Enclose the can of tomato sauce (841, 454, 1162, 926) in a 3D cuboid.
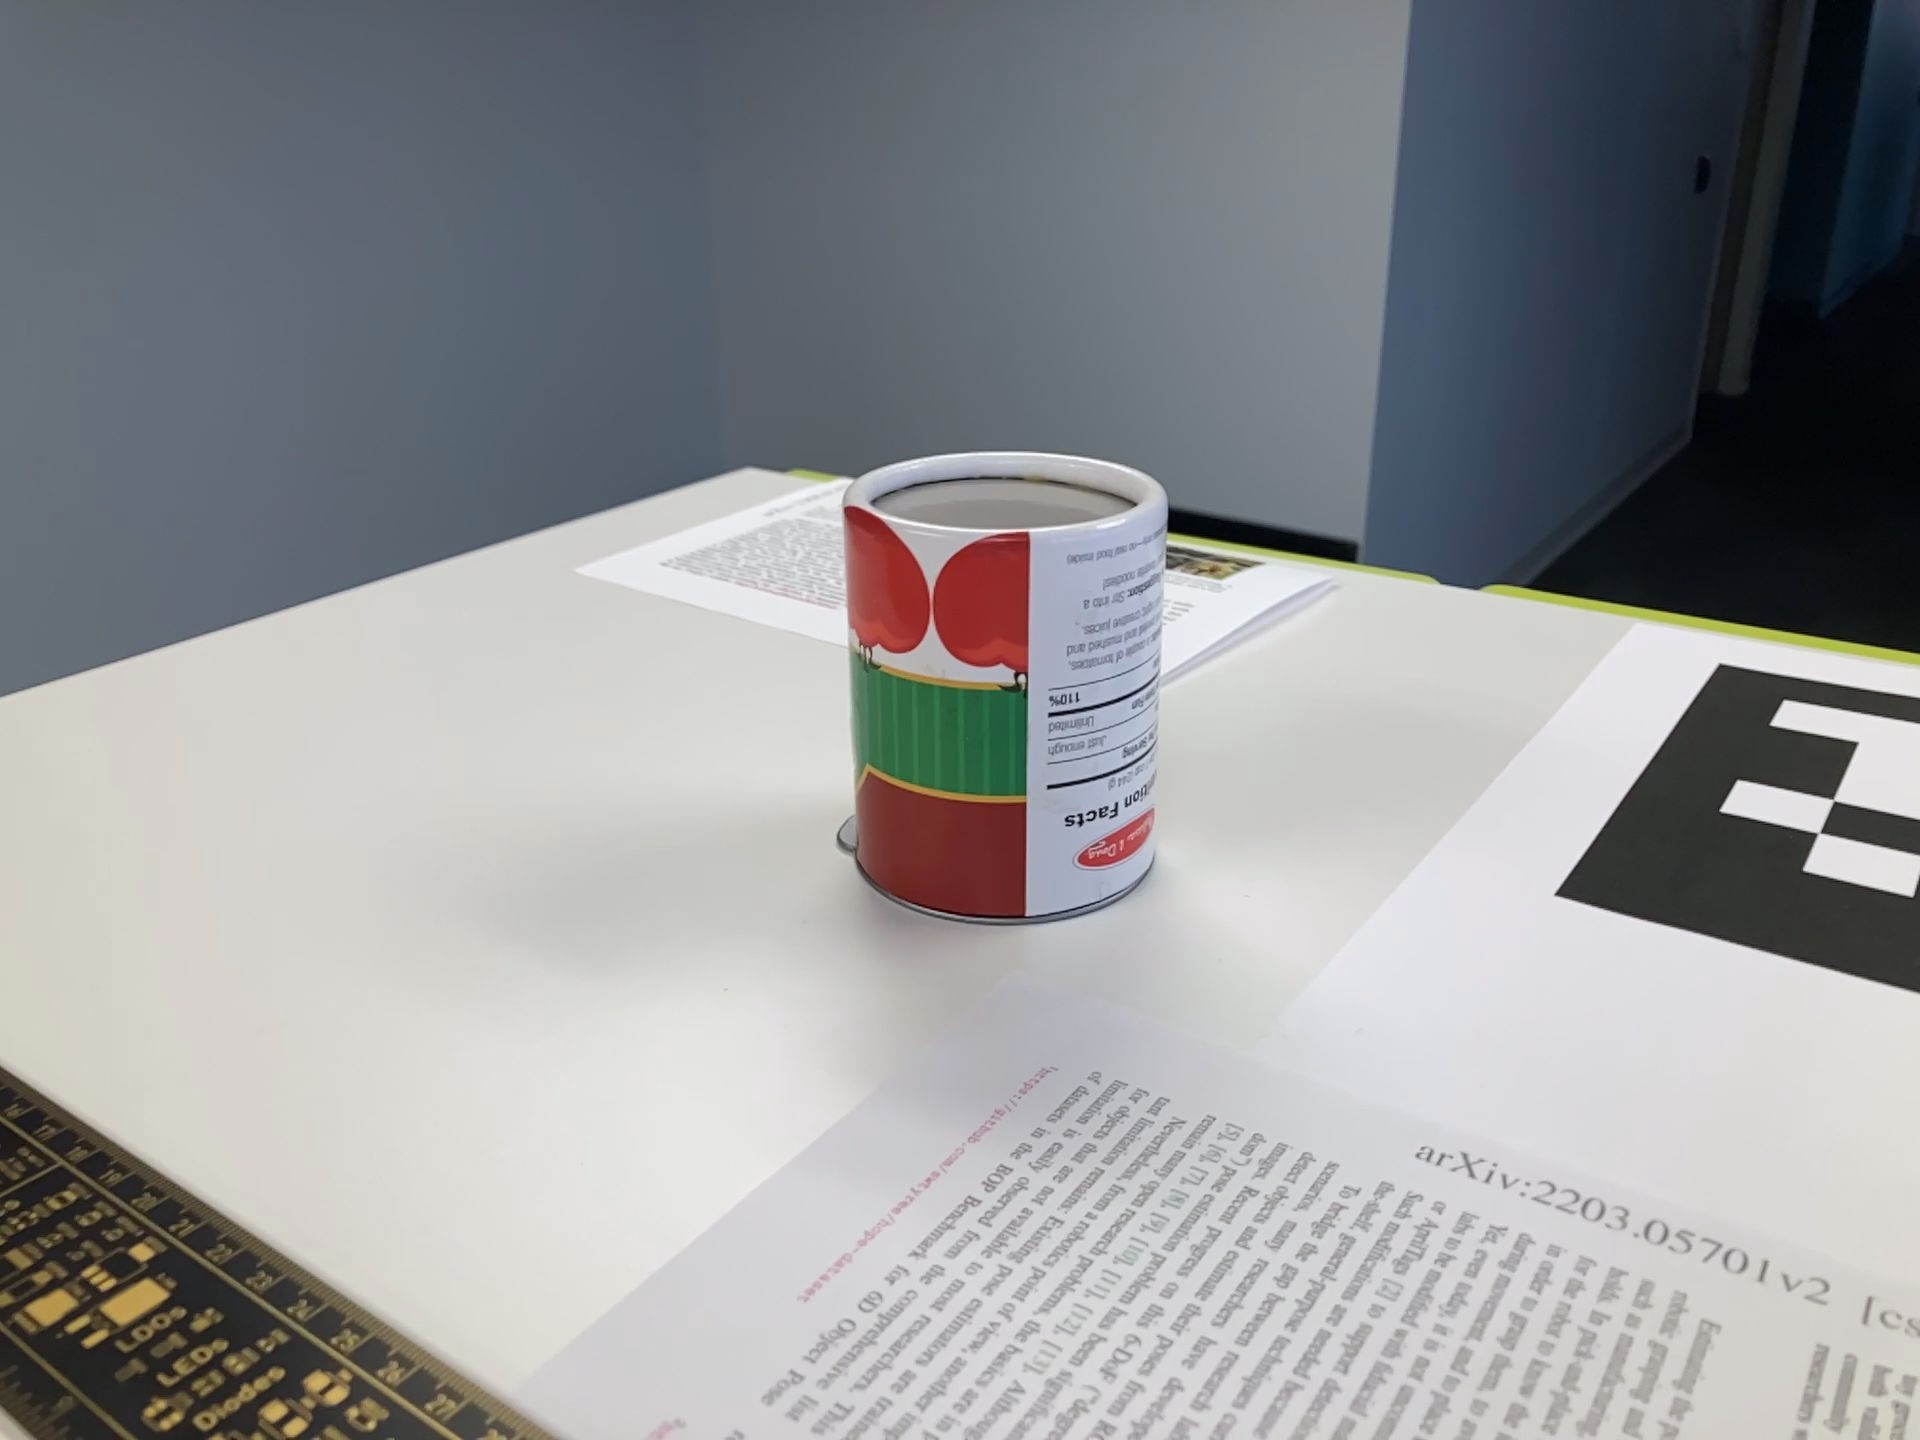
[{"bbox_3d":[0.008,-0.009,0.341,0.071,0.083,0.071,-2,24,1],"label":"can of tomato sauce"}]
